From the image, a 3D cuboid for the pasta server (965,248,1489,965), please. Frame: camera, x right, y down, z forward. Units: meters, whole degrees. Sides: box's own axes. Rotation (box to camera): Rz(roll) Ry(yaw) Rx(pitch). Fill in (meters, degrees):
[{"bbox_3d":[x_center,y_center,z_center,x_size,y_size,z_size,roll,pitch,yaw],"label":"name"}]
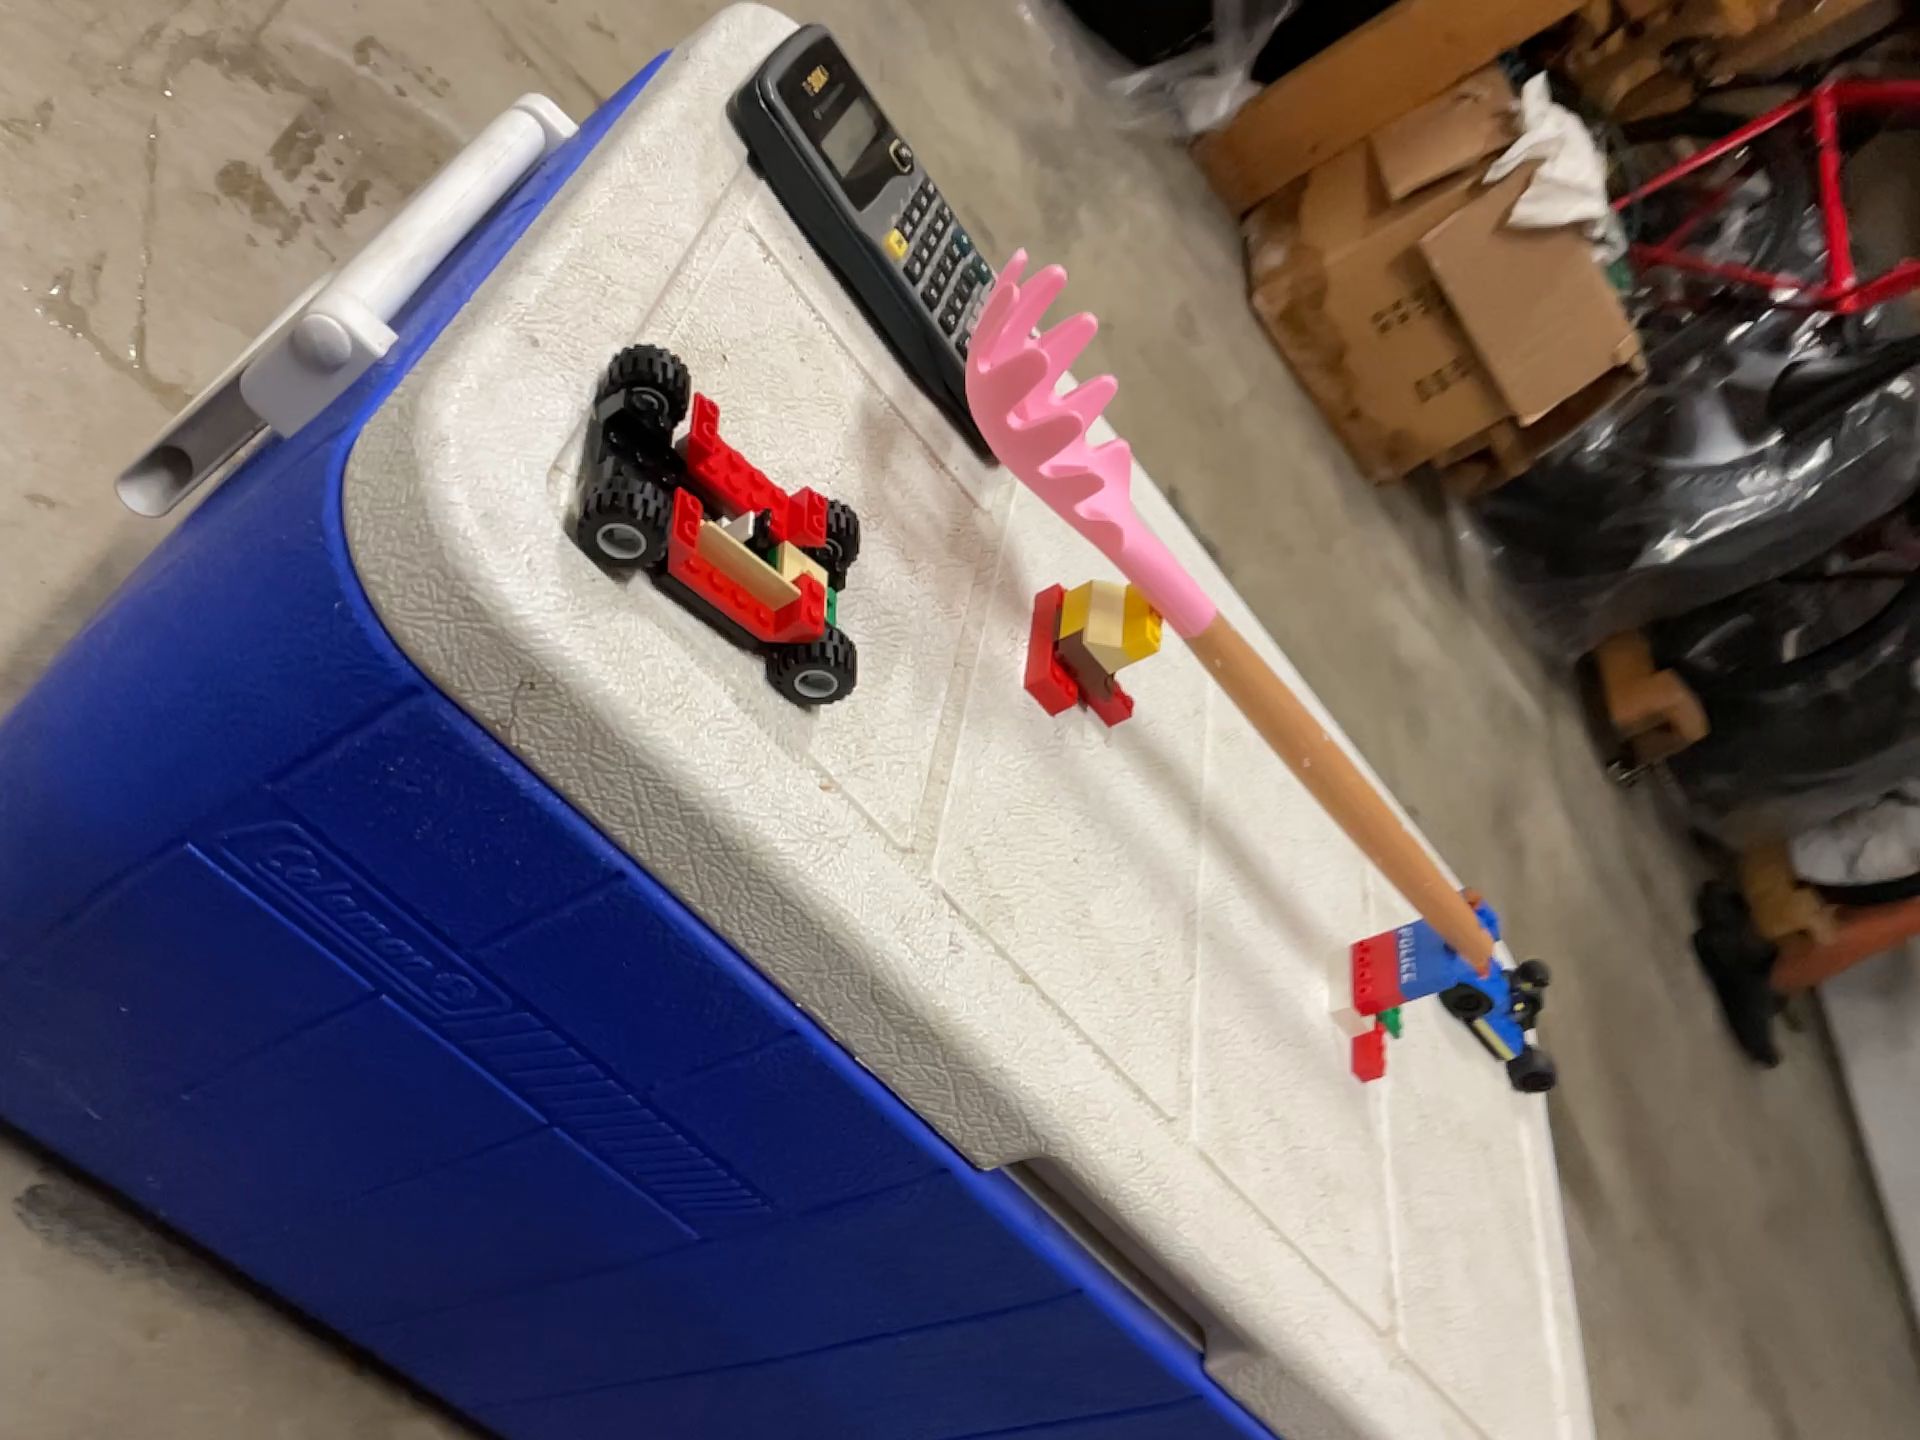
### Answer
[{"bbox_3d":[0.099,-0.017,0.522,0.316,0.040,0.060,46,34,-26],"label":"pasta server"}]
